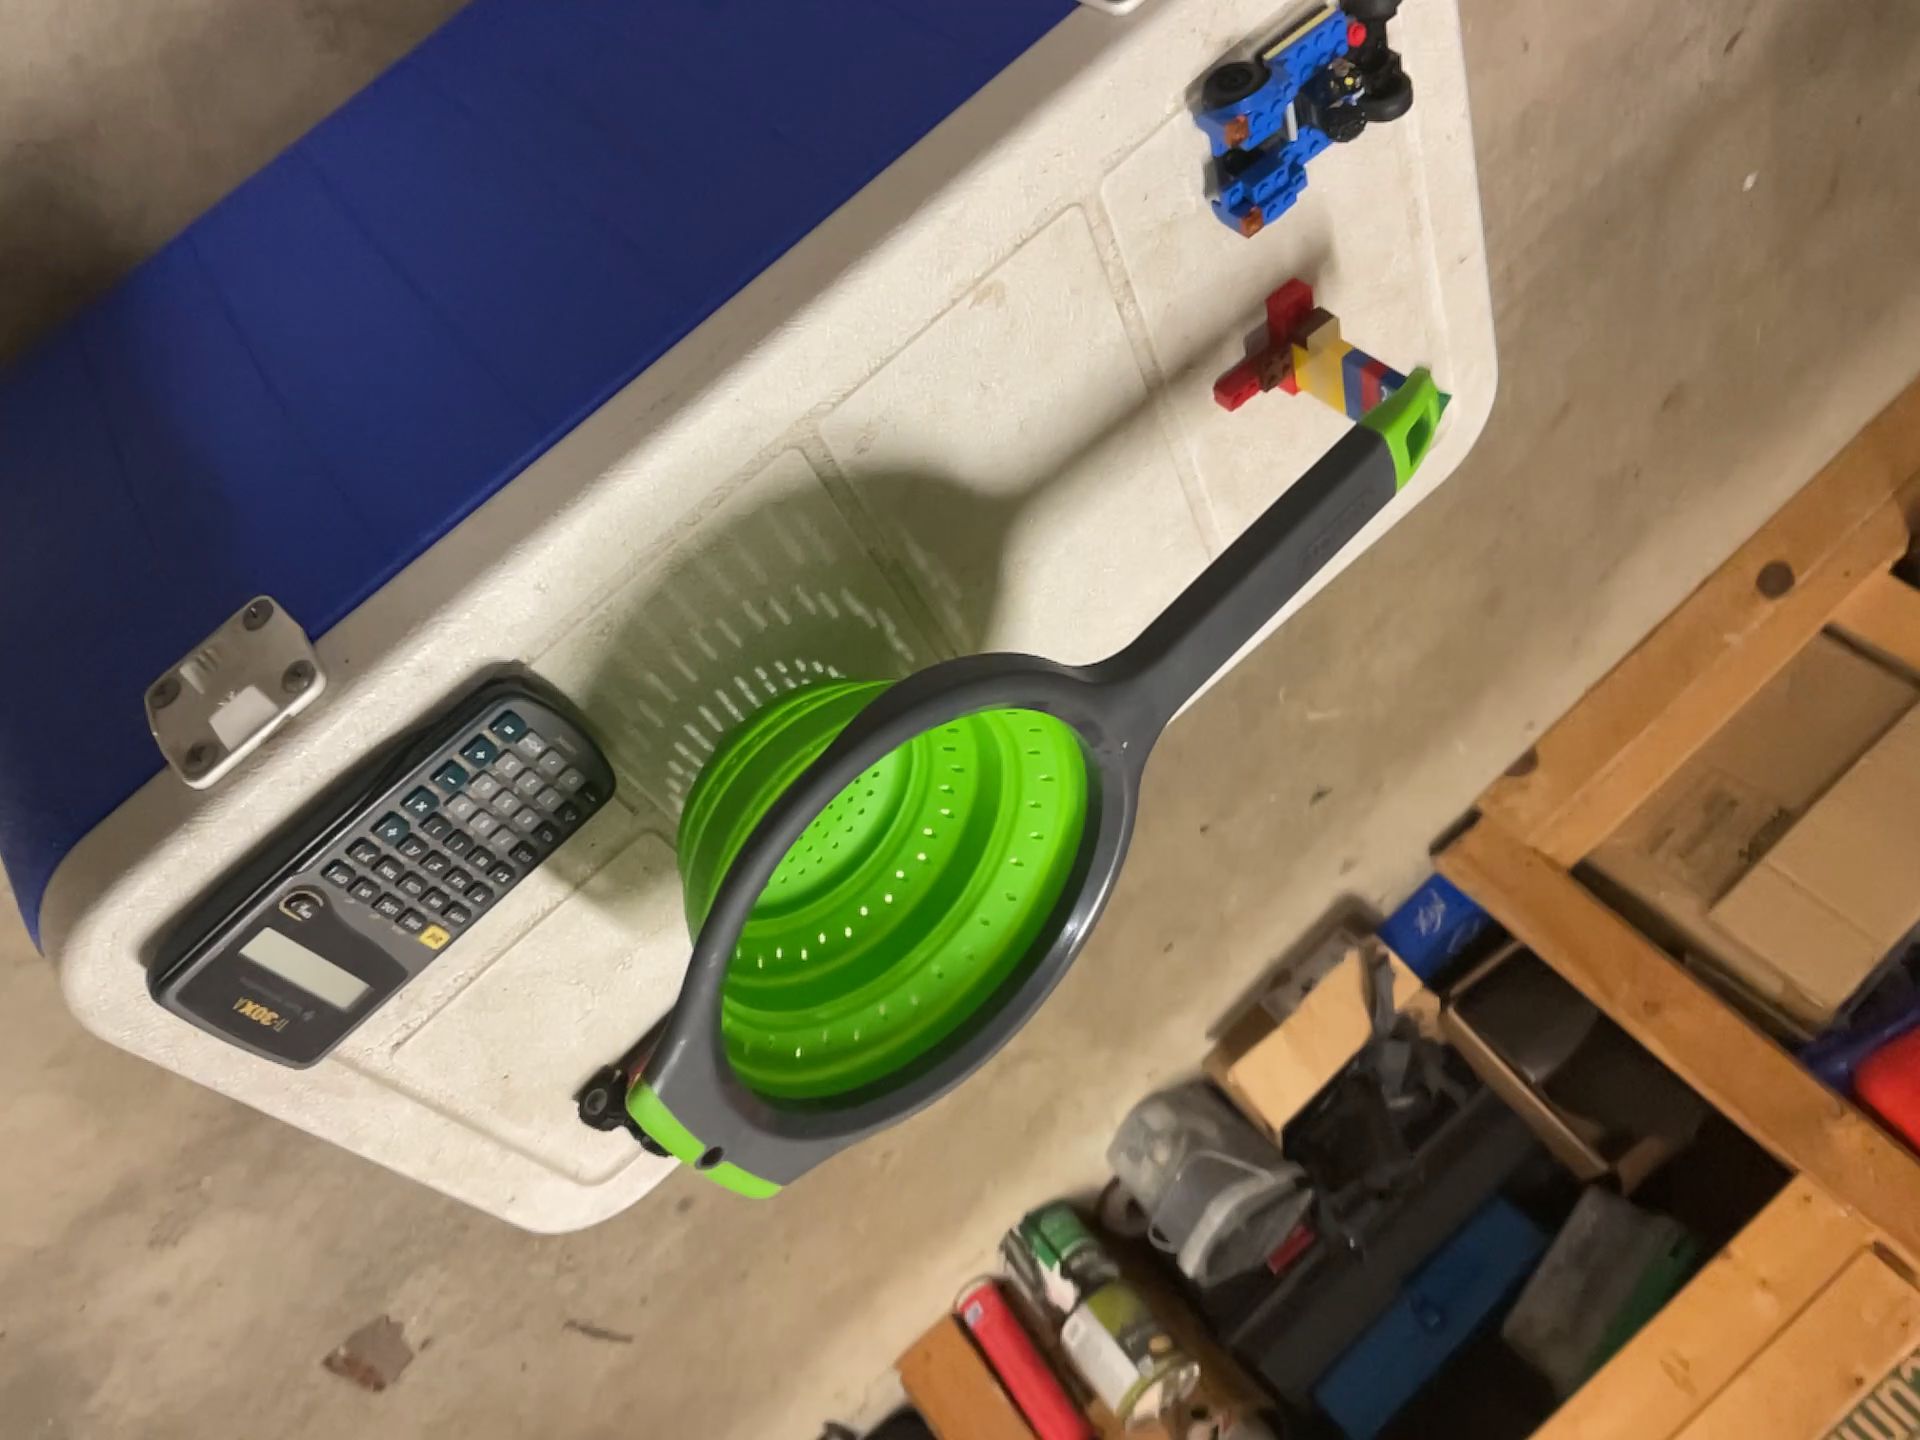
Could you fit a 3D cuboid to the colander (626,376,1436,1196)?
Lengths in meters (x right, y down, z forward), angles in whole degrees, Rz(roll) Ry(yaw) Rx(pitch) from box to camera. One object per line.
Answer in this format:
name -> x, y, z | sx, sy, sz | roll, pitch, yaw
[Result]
colander -> 0.022, -0.005, 0.607 | 0.397, 0.095, 0.204 | -44, 141, -10
